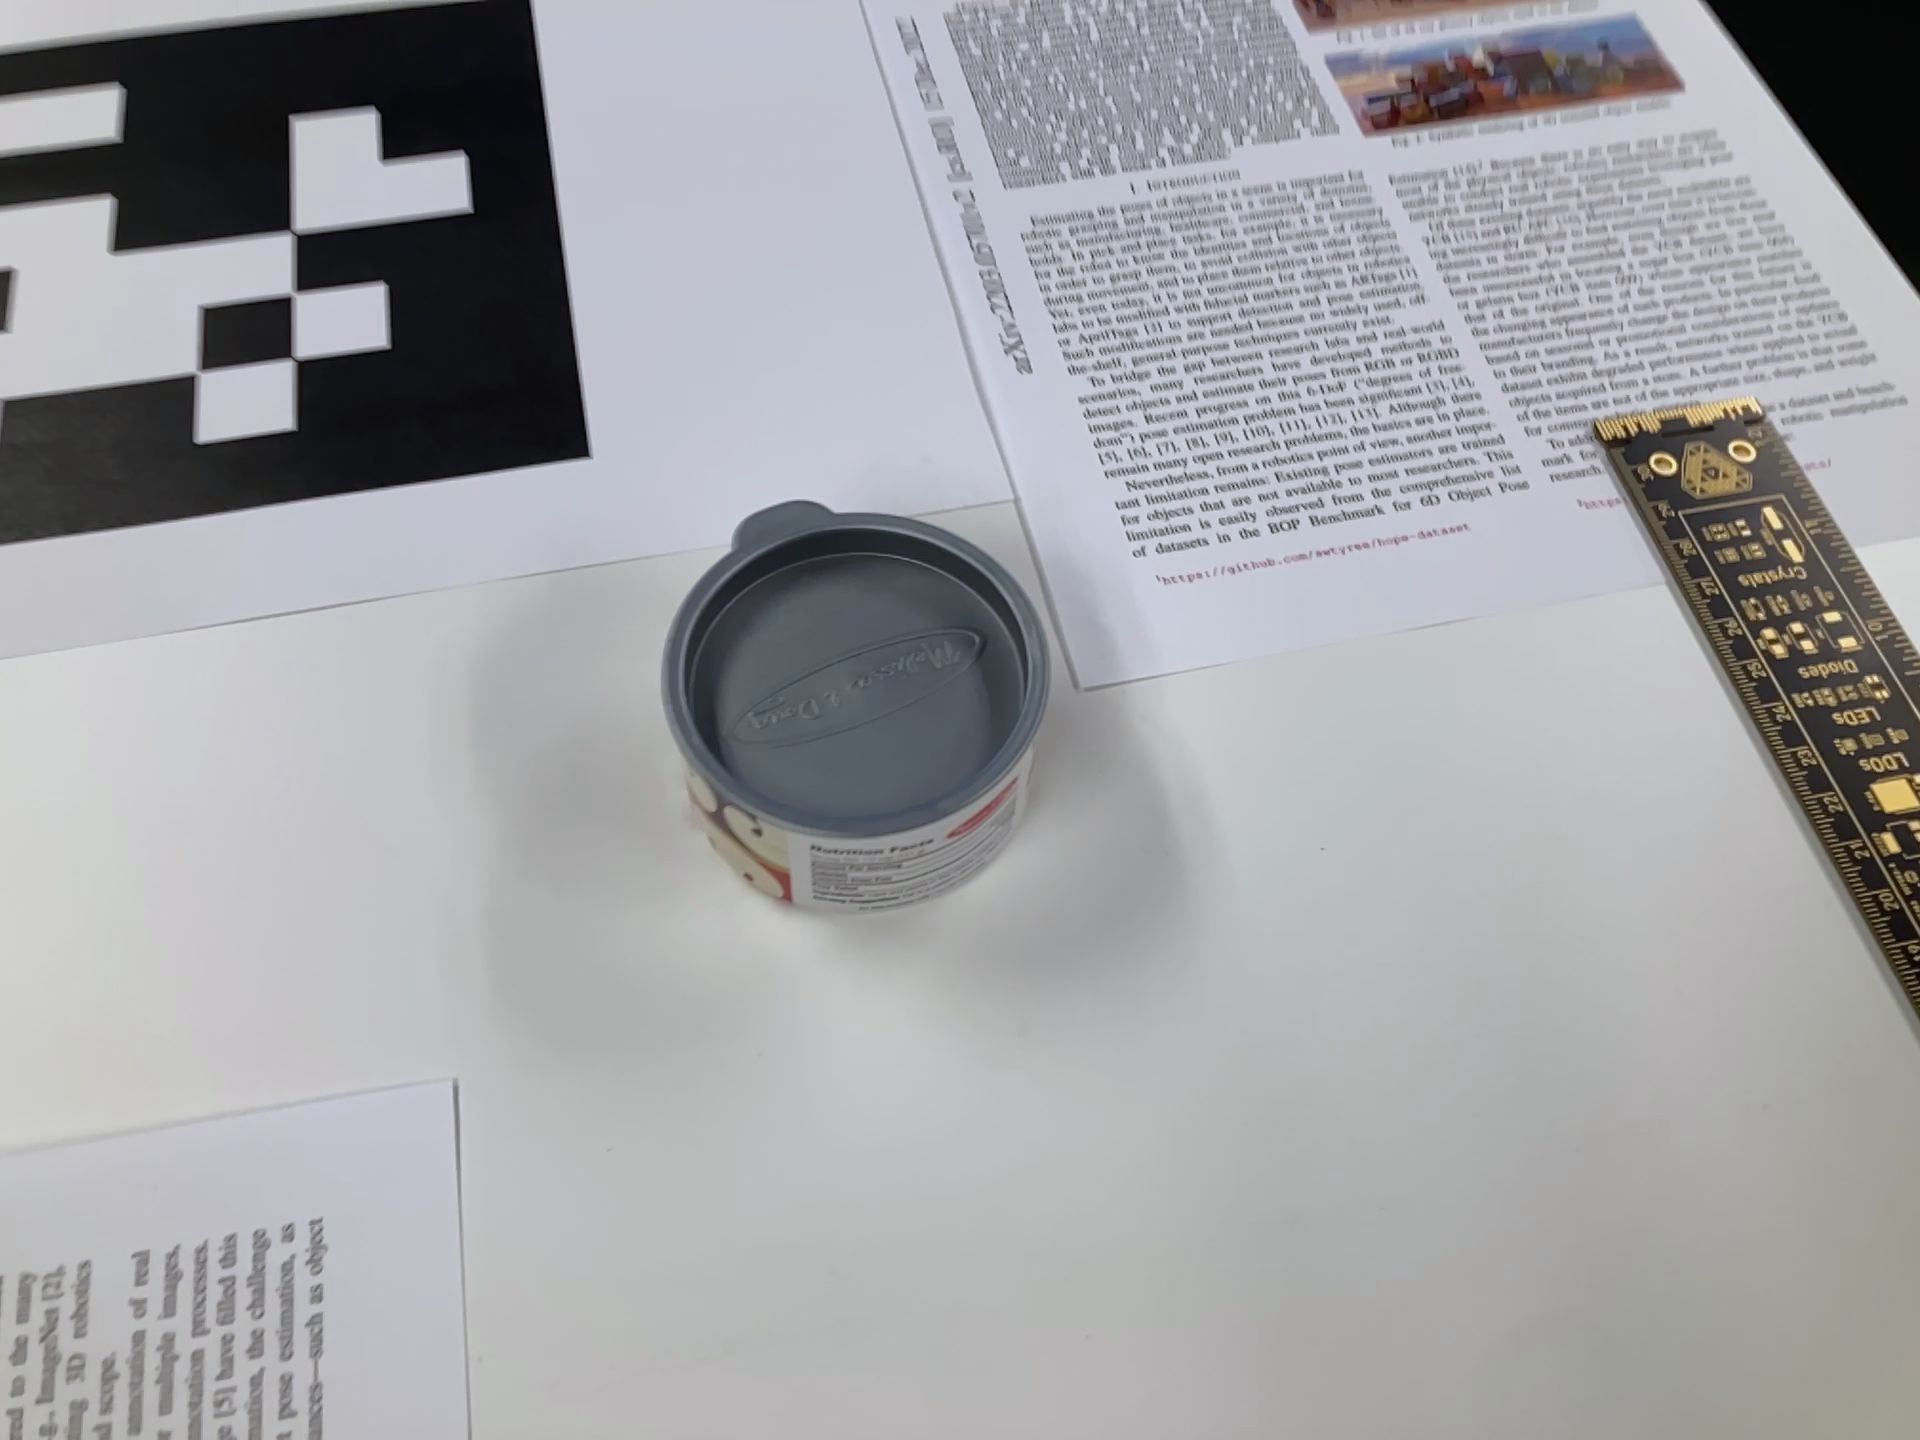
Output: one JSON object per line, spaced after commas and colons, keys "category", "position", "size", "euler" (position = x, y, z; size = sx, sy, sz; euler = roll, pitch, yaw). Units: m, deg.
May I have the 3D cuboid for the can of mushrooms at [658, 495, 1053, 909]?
{"category": "can of mushrooms", "position": [-0.019, -0.004, 0.281], "size": [0.071, 0.033, 0.071], "euler": [0, 59, -1]}
